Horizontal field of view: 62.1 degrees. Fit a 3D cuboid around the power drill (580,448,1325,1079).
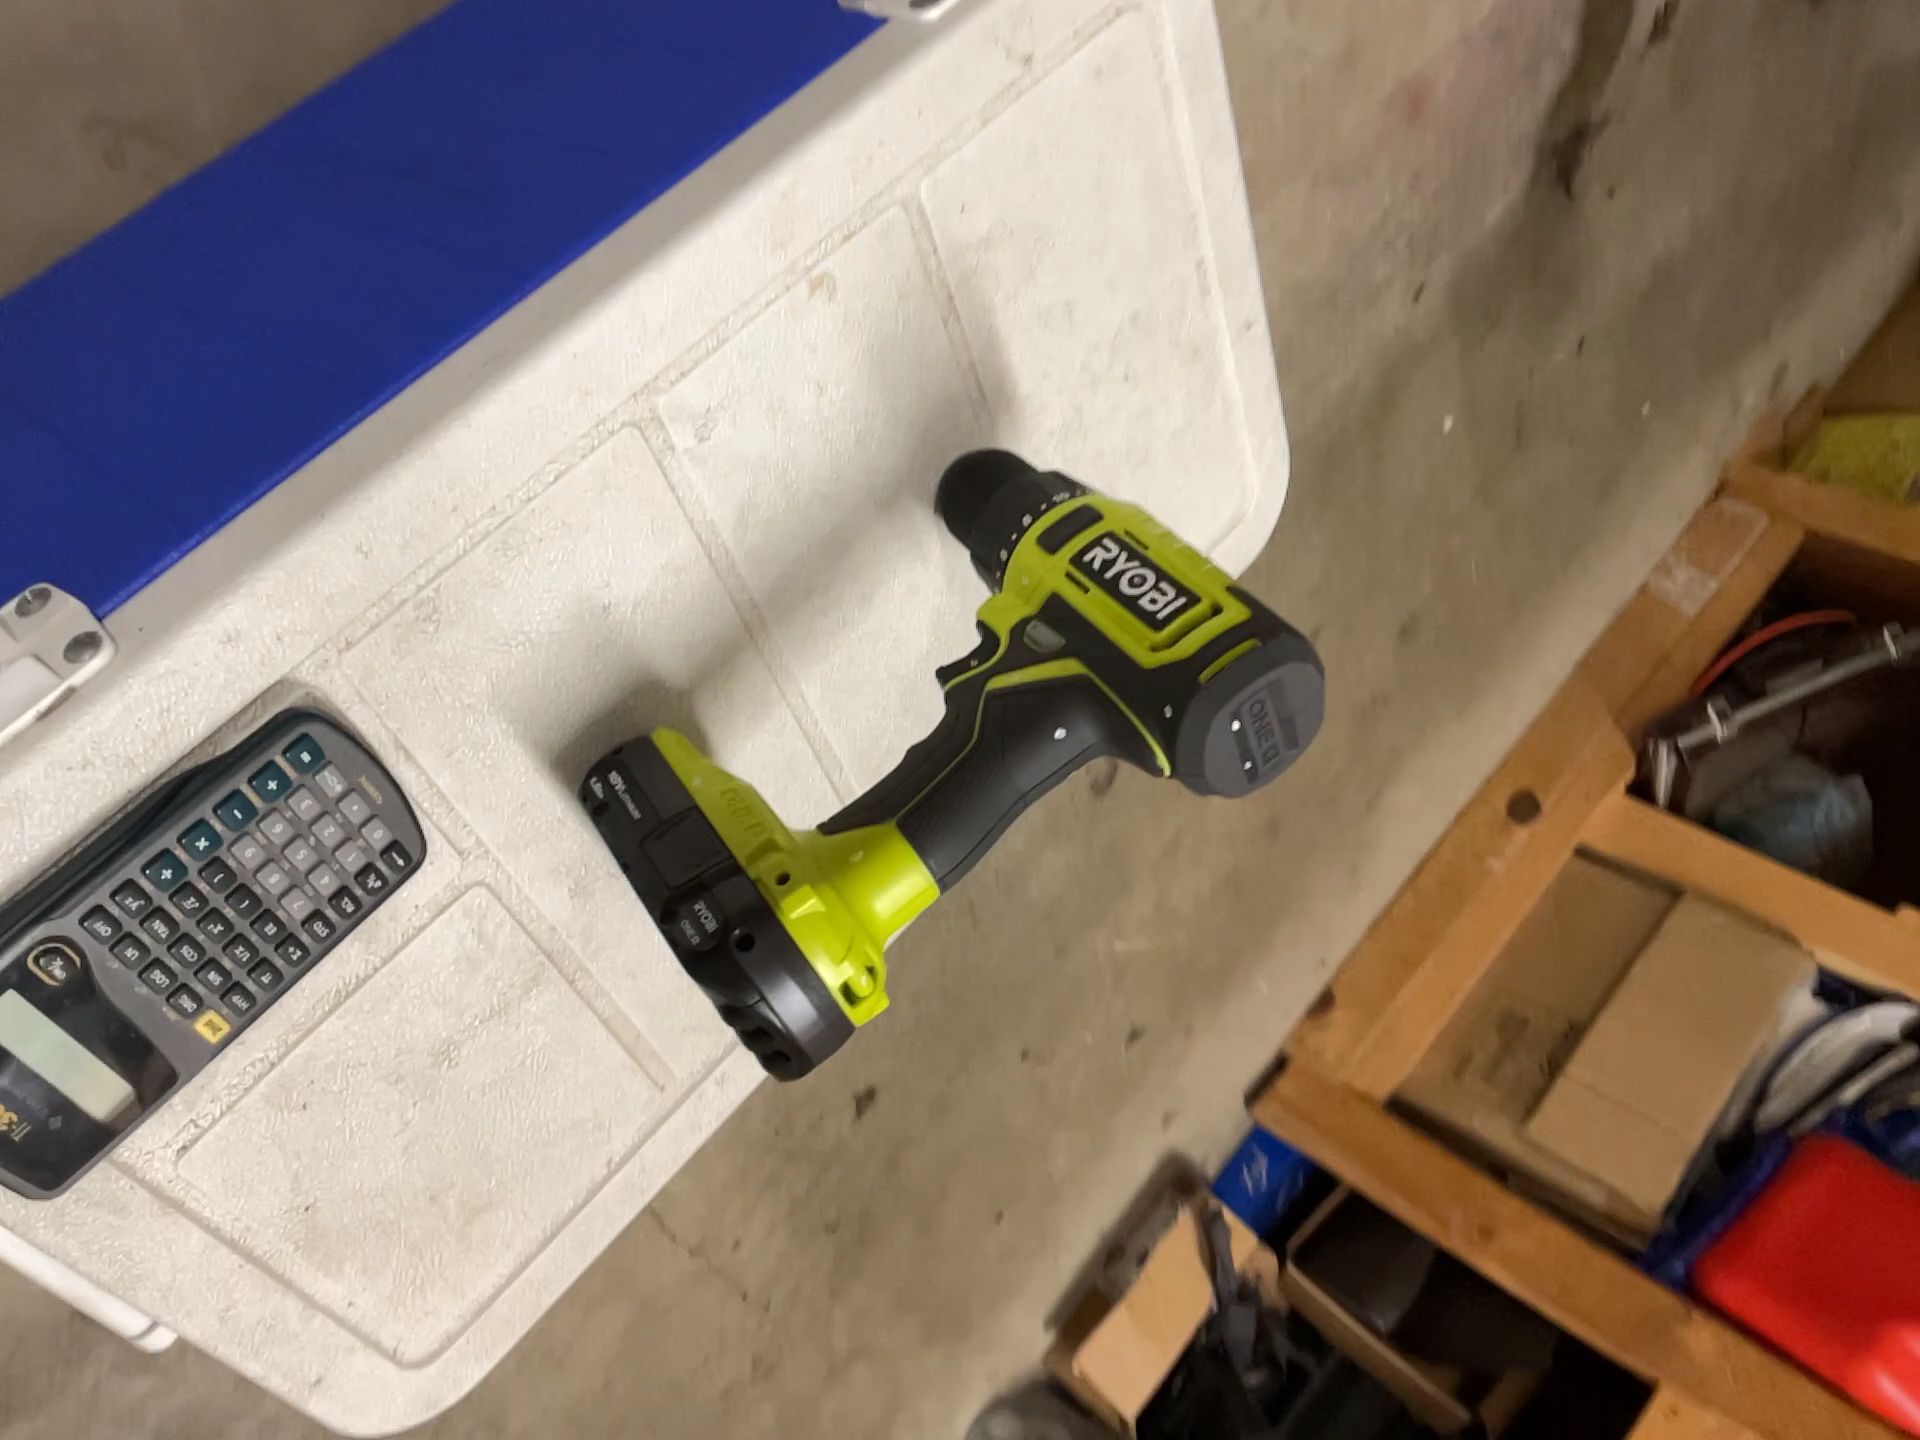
[{"bbox_3d":[-0.013,-0.001,0.572,0.228,0.190,0.080,-36,137,-9],"label":"power drill"}]
